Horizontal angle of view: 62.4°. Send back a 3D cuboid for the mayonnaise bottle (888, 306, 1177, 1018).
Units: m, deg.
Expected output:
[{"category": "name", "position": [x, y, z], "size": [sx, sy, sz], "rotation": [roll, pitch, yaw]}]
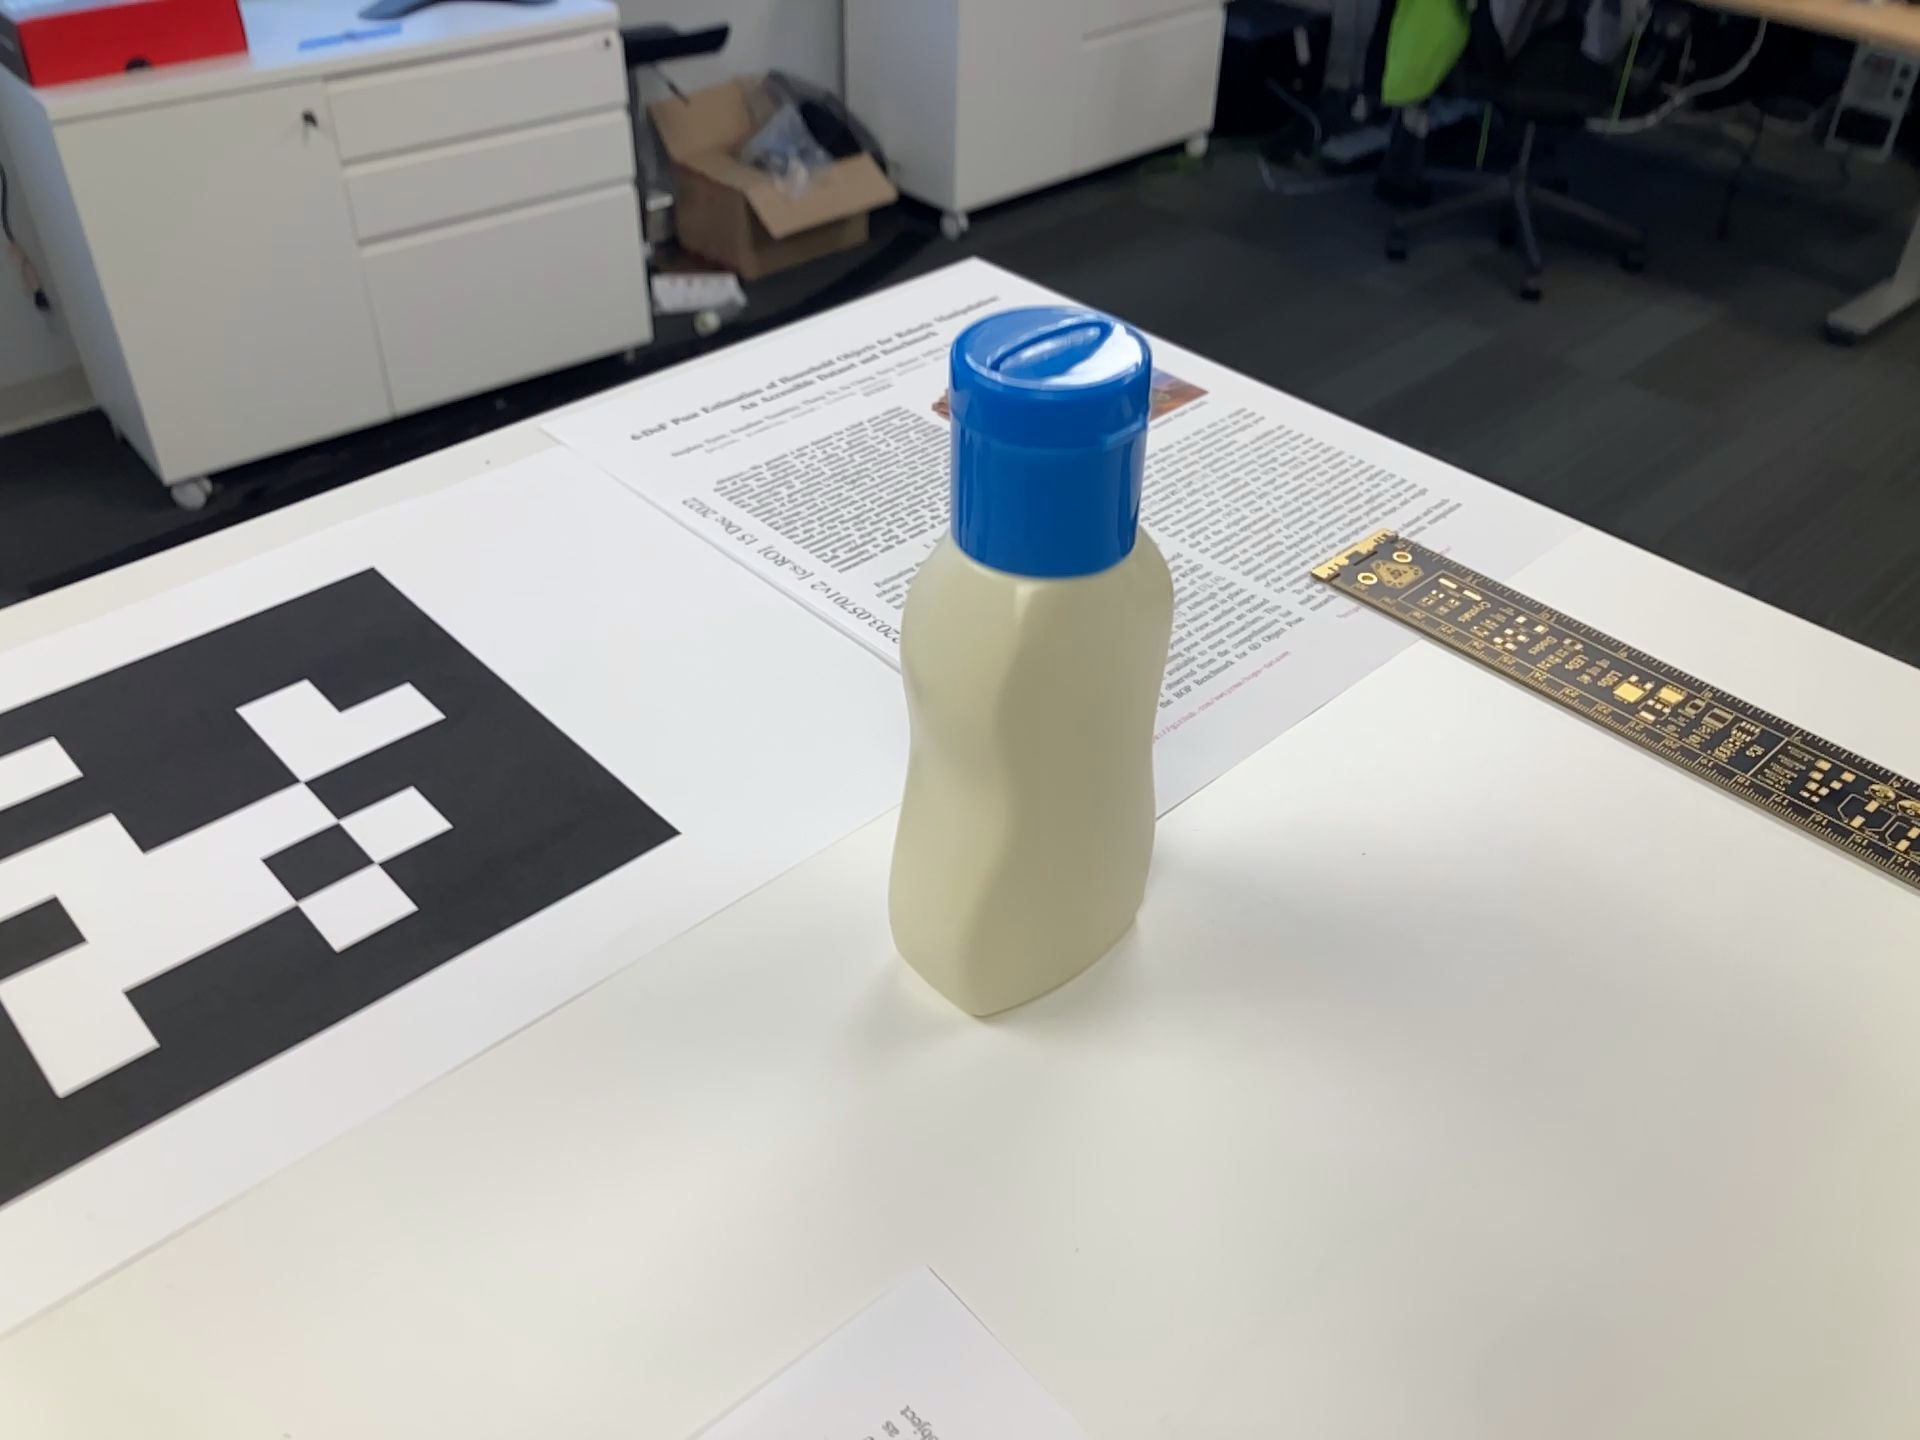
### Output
[{"category": "mayonnaise bottle", "position": [0.015, -0.008, 0.325], "size": [0.065, 0.148, 0.041], "rotation": [-29, 47, -33]}]
